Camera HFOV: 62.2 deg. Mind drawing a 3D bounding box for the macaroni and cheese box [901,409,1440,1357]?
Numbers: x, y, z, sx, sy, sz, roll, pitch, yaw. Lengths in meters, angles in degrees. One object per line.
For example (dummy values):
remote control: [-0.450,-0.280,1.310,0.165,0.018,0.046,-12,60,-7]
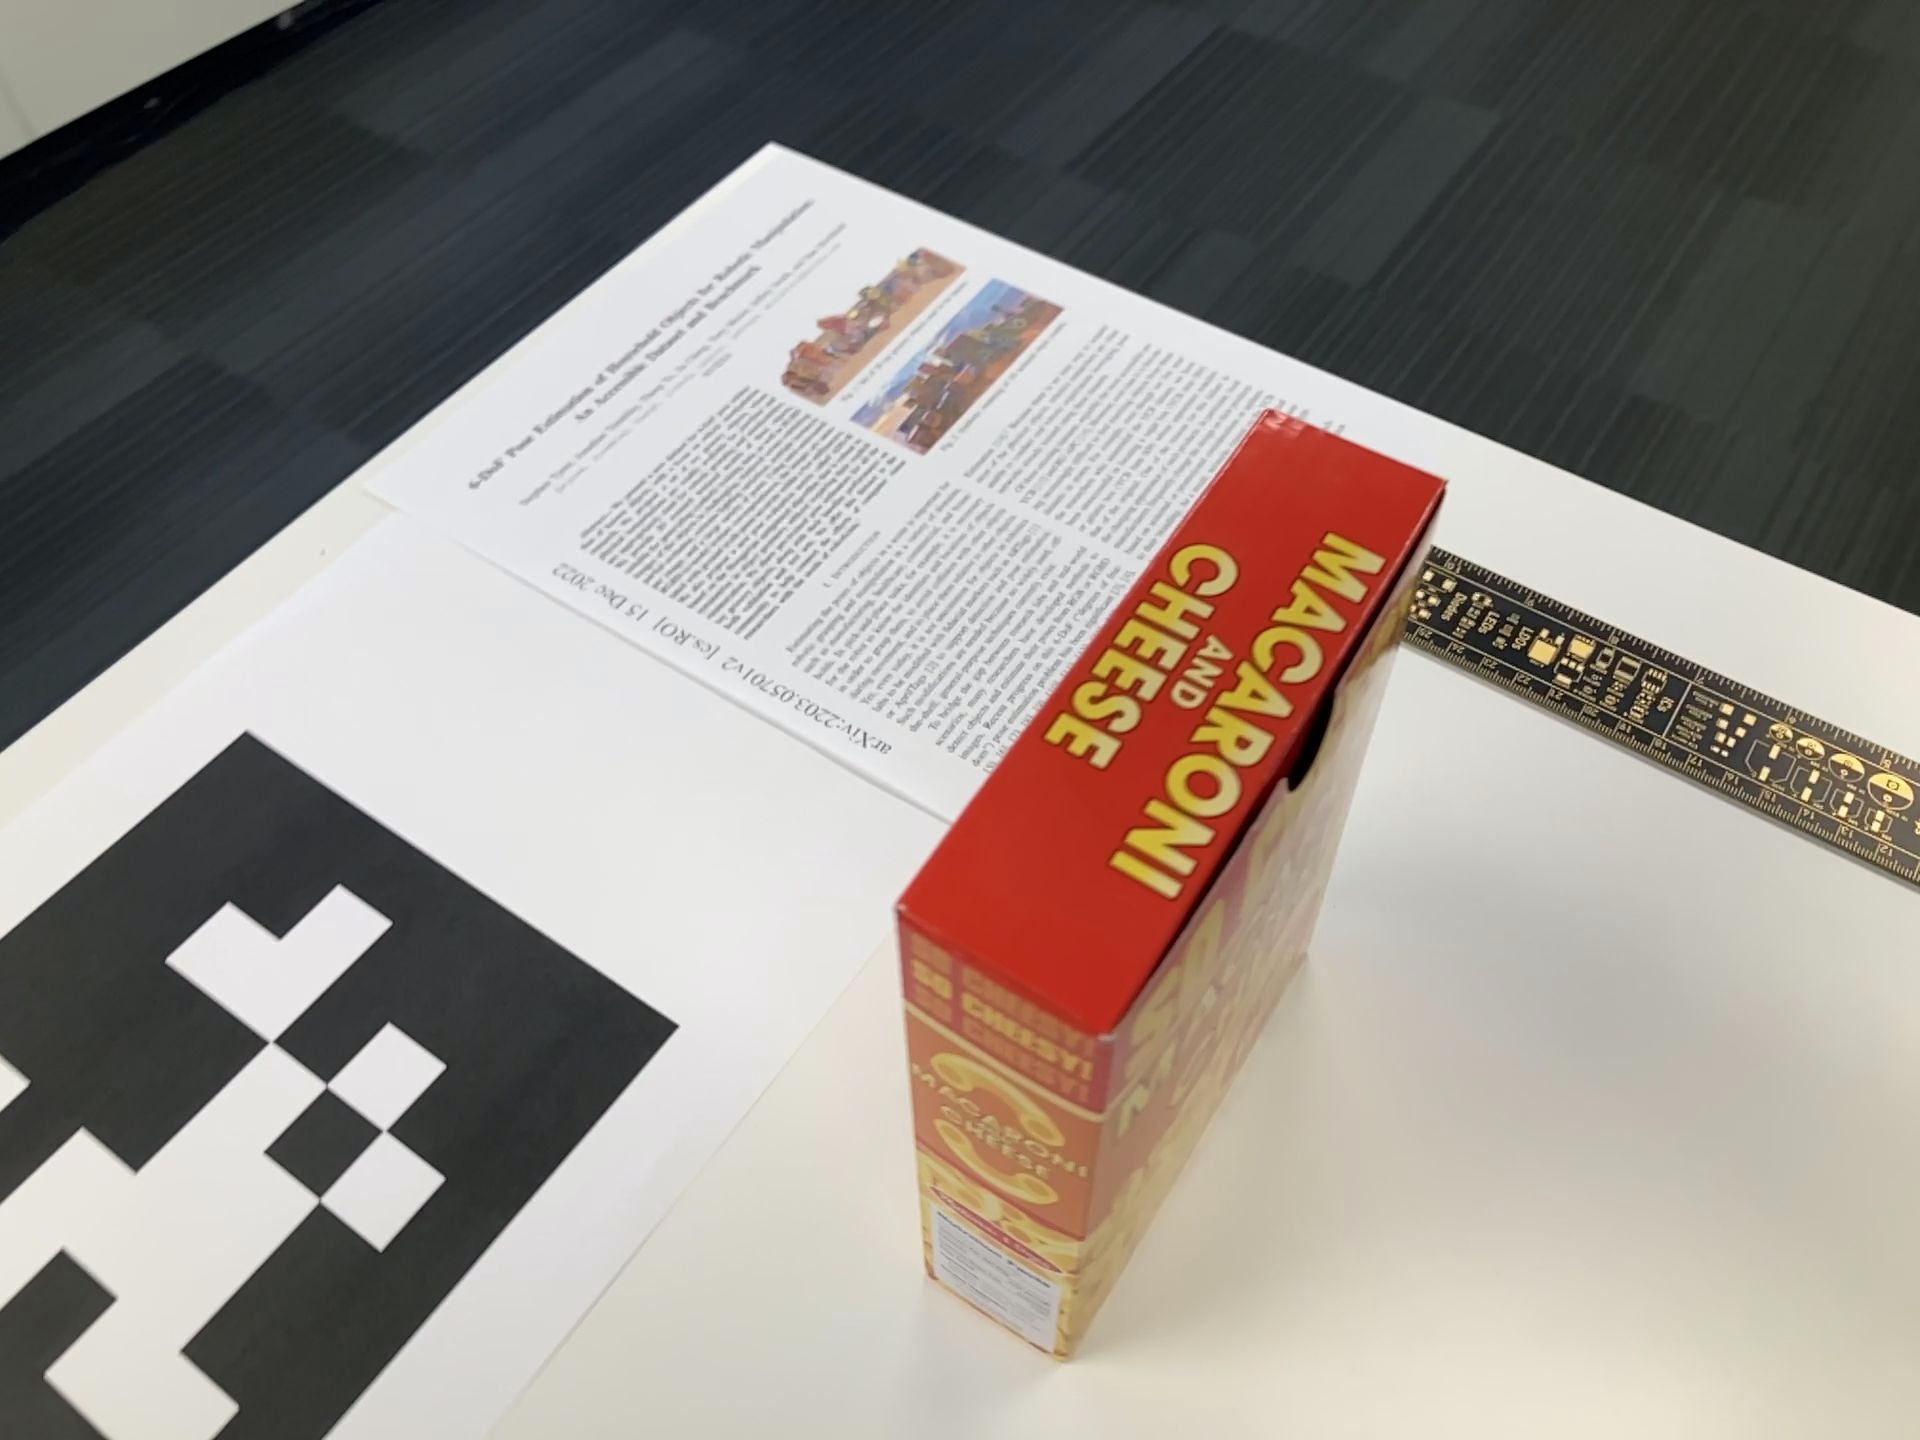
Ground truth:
macaroni and cheese box: [0.040,0.041,0.318,0.040,0.166,0.124,26,58,19]
